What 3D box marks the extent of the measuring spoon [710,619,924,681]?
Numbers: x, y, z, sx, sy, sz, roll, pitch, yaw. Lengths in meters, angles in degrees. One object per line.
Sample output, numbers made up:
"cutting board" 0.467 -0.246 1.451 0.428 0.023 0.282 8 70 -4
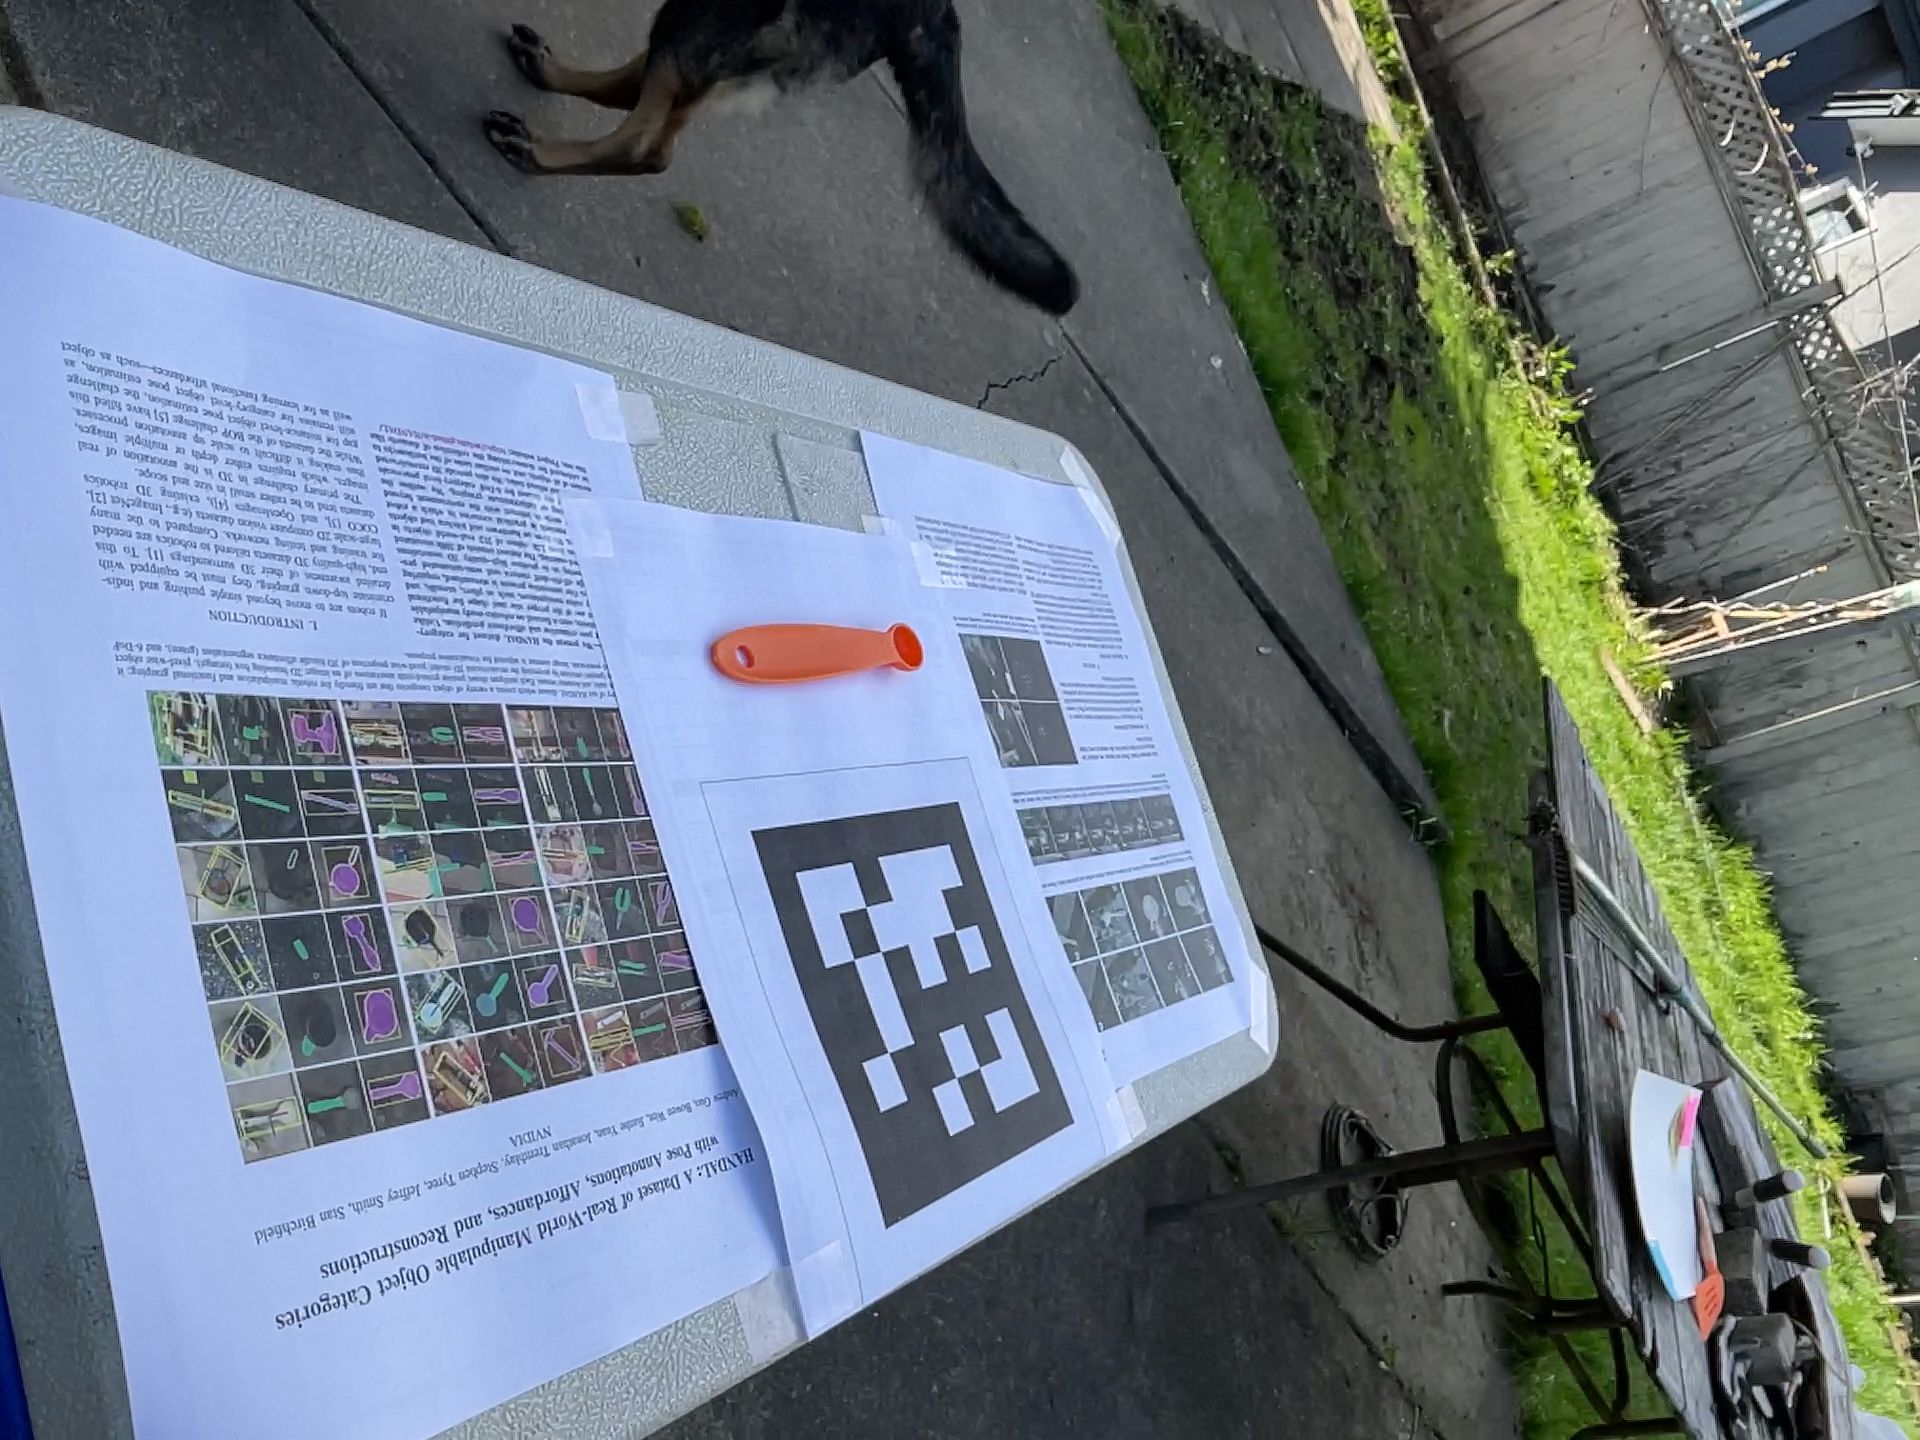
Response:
"measuring spoon" -0.050 -0.024 0.563 0.117 0.011 0.021 -7 76 -57
